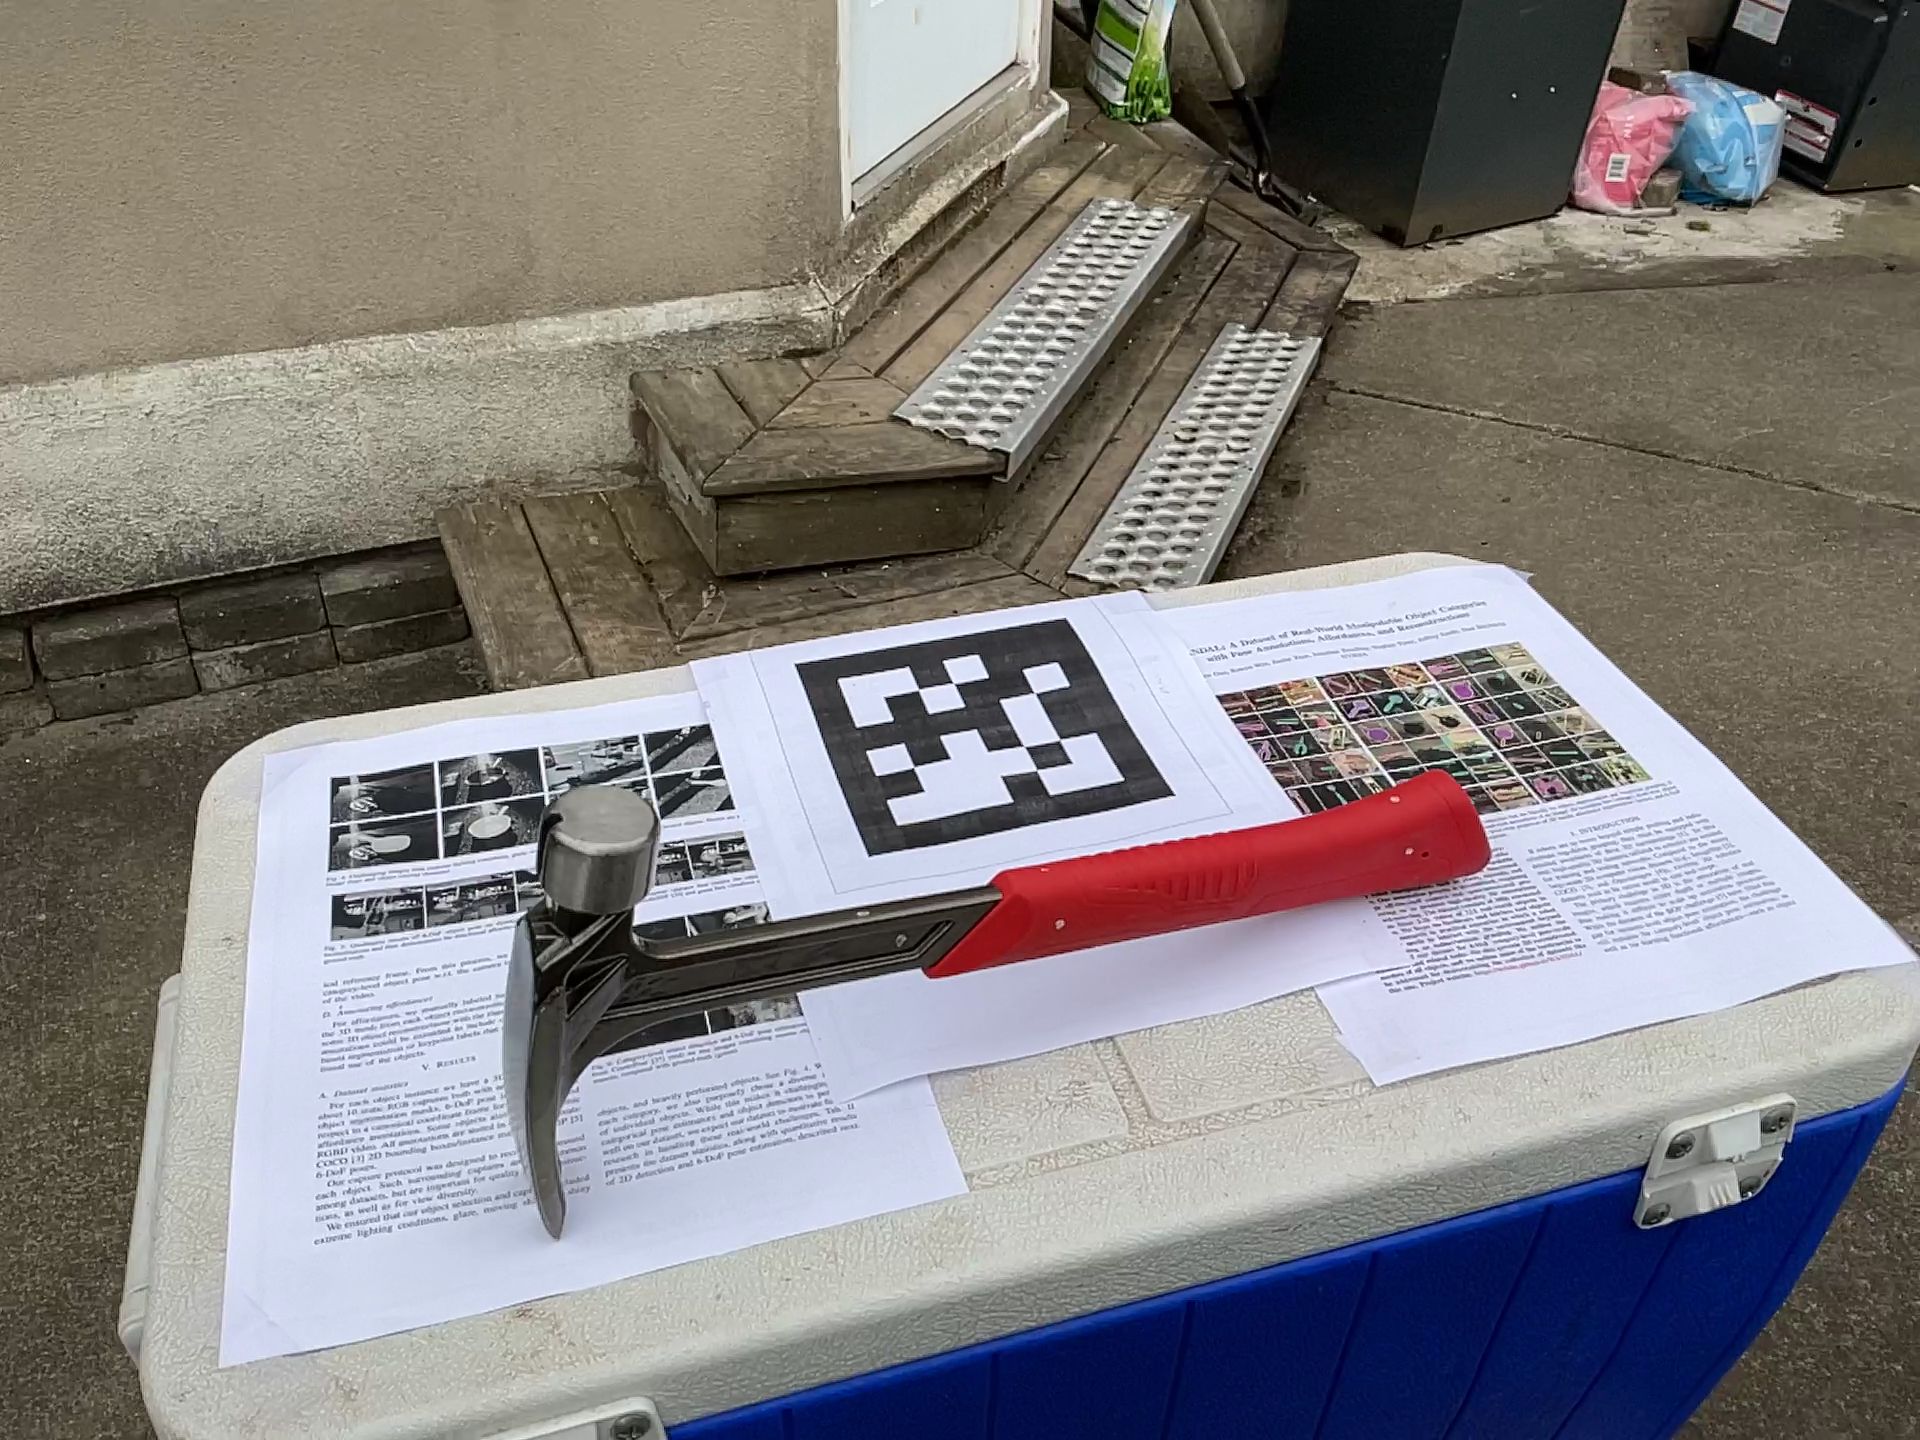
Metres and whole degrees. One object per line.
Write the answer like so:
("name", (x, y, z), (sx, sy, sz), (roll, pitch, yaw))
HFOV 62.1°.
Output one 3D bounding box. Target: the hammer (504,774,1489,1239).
("hammer", (0.032, 0.071, 0.533), (0.359, 0.149, 0.037), (-6, 36, -29))
